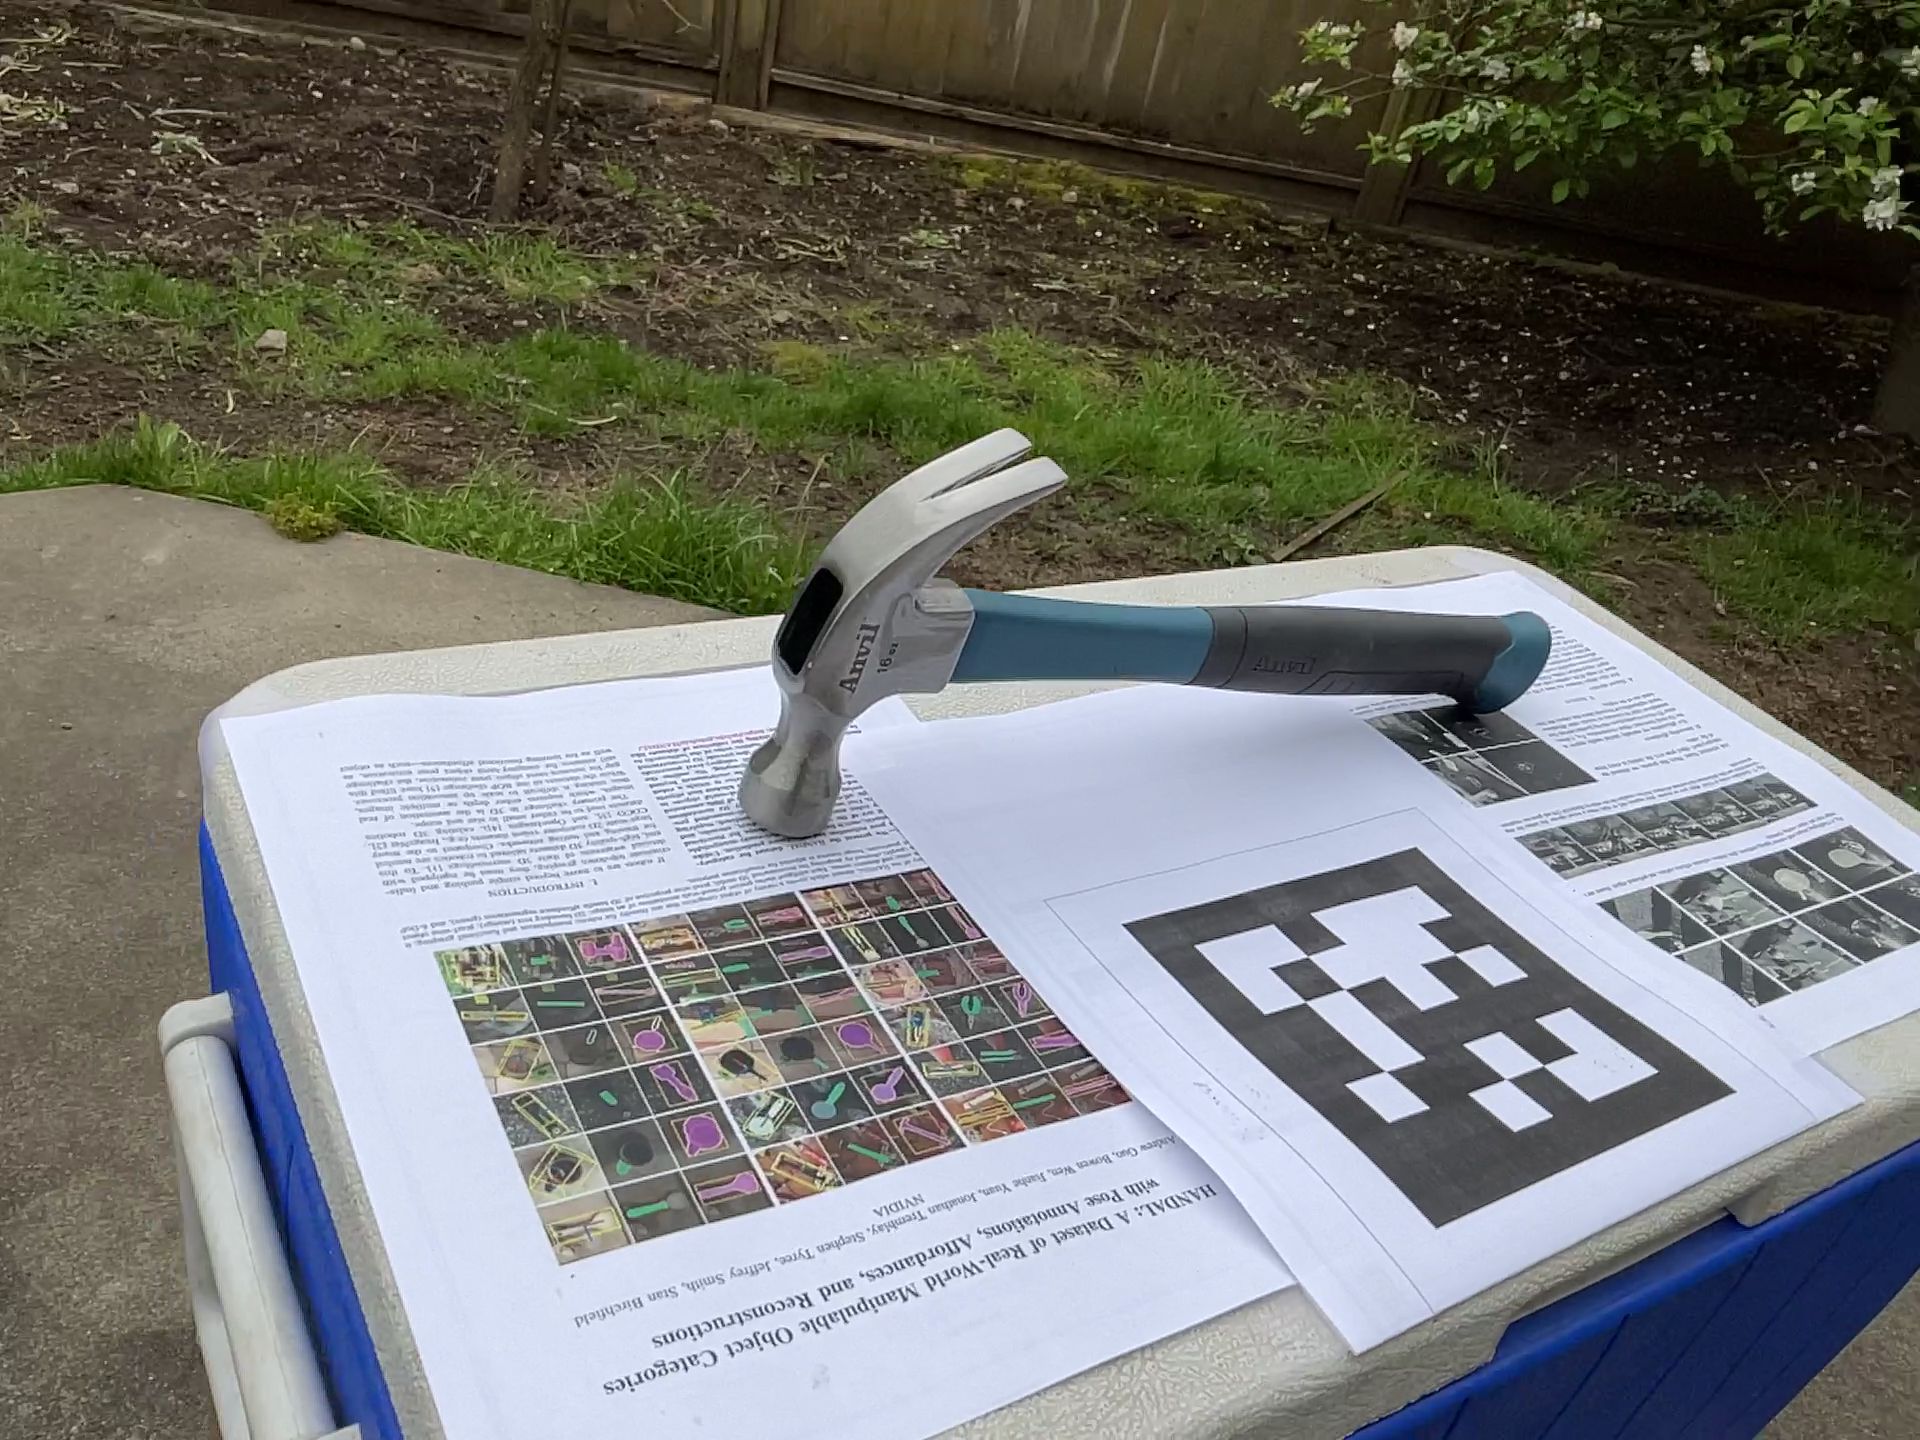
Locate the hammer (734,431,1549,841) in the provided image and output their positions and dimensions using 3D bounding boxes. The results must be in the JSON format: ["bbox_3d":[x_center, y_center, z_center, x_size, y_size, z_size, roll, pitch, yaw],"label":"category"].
[{"bbox_3d":[0.088,-0.023,0.544,0.331,0.128,0.033,0,35,-36],"label":"hammer"}]
